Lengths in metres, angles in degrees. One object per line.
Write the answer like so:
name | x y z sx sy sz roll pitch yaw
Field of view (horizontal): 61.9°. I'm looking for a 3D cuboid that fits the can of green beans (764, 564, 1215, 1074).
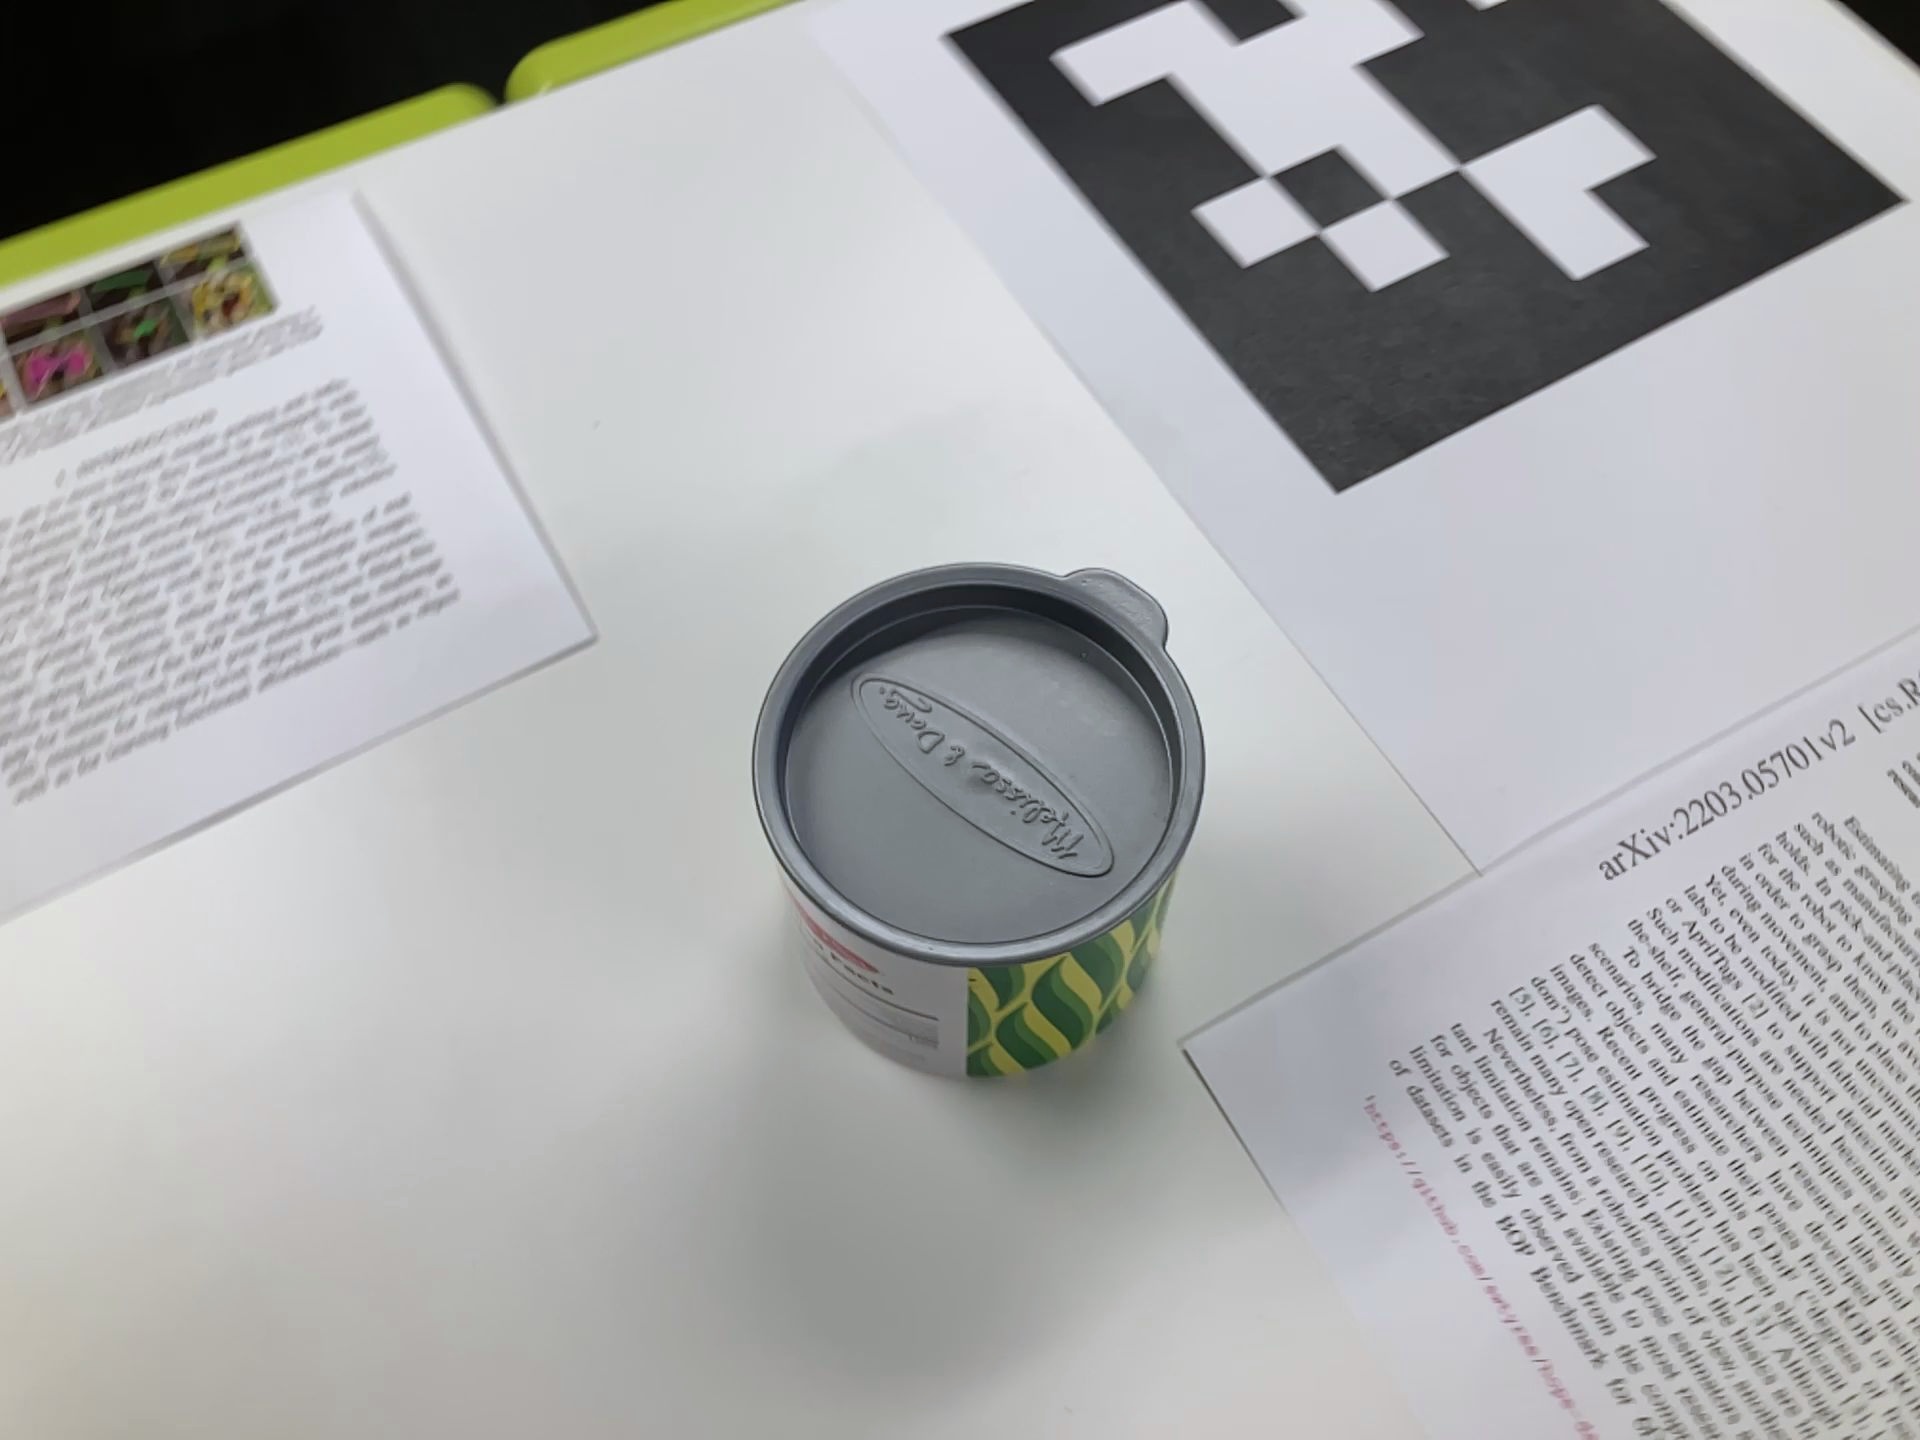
can of green beans | 0.004 0.018 0.260 0.071 0.058 0.071 0 62 0
